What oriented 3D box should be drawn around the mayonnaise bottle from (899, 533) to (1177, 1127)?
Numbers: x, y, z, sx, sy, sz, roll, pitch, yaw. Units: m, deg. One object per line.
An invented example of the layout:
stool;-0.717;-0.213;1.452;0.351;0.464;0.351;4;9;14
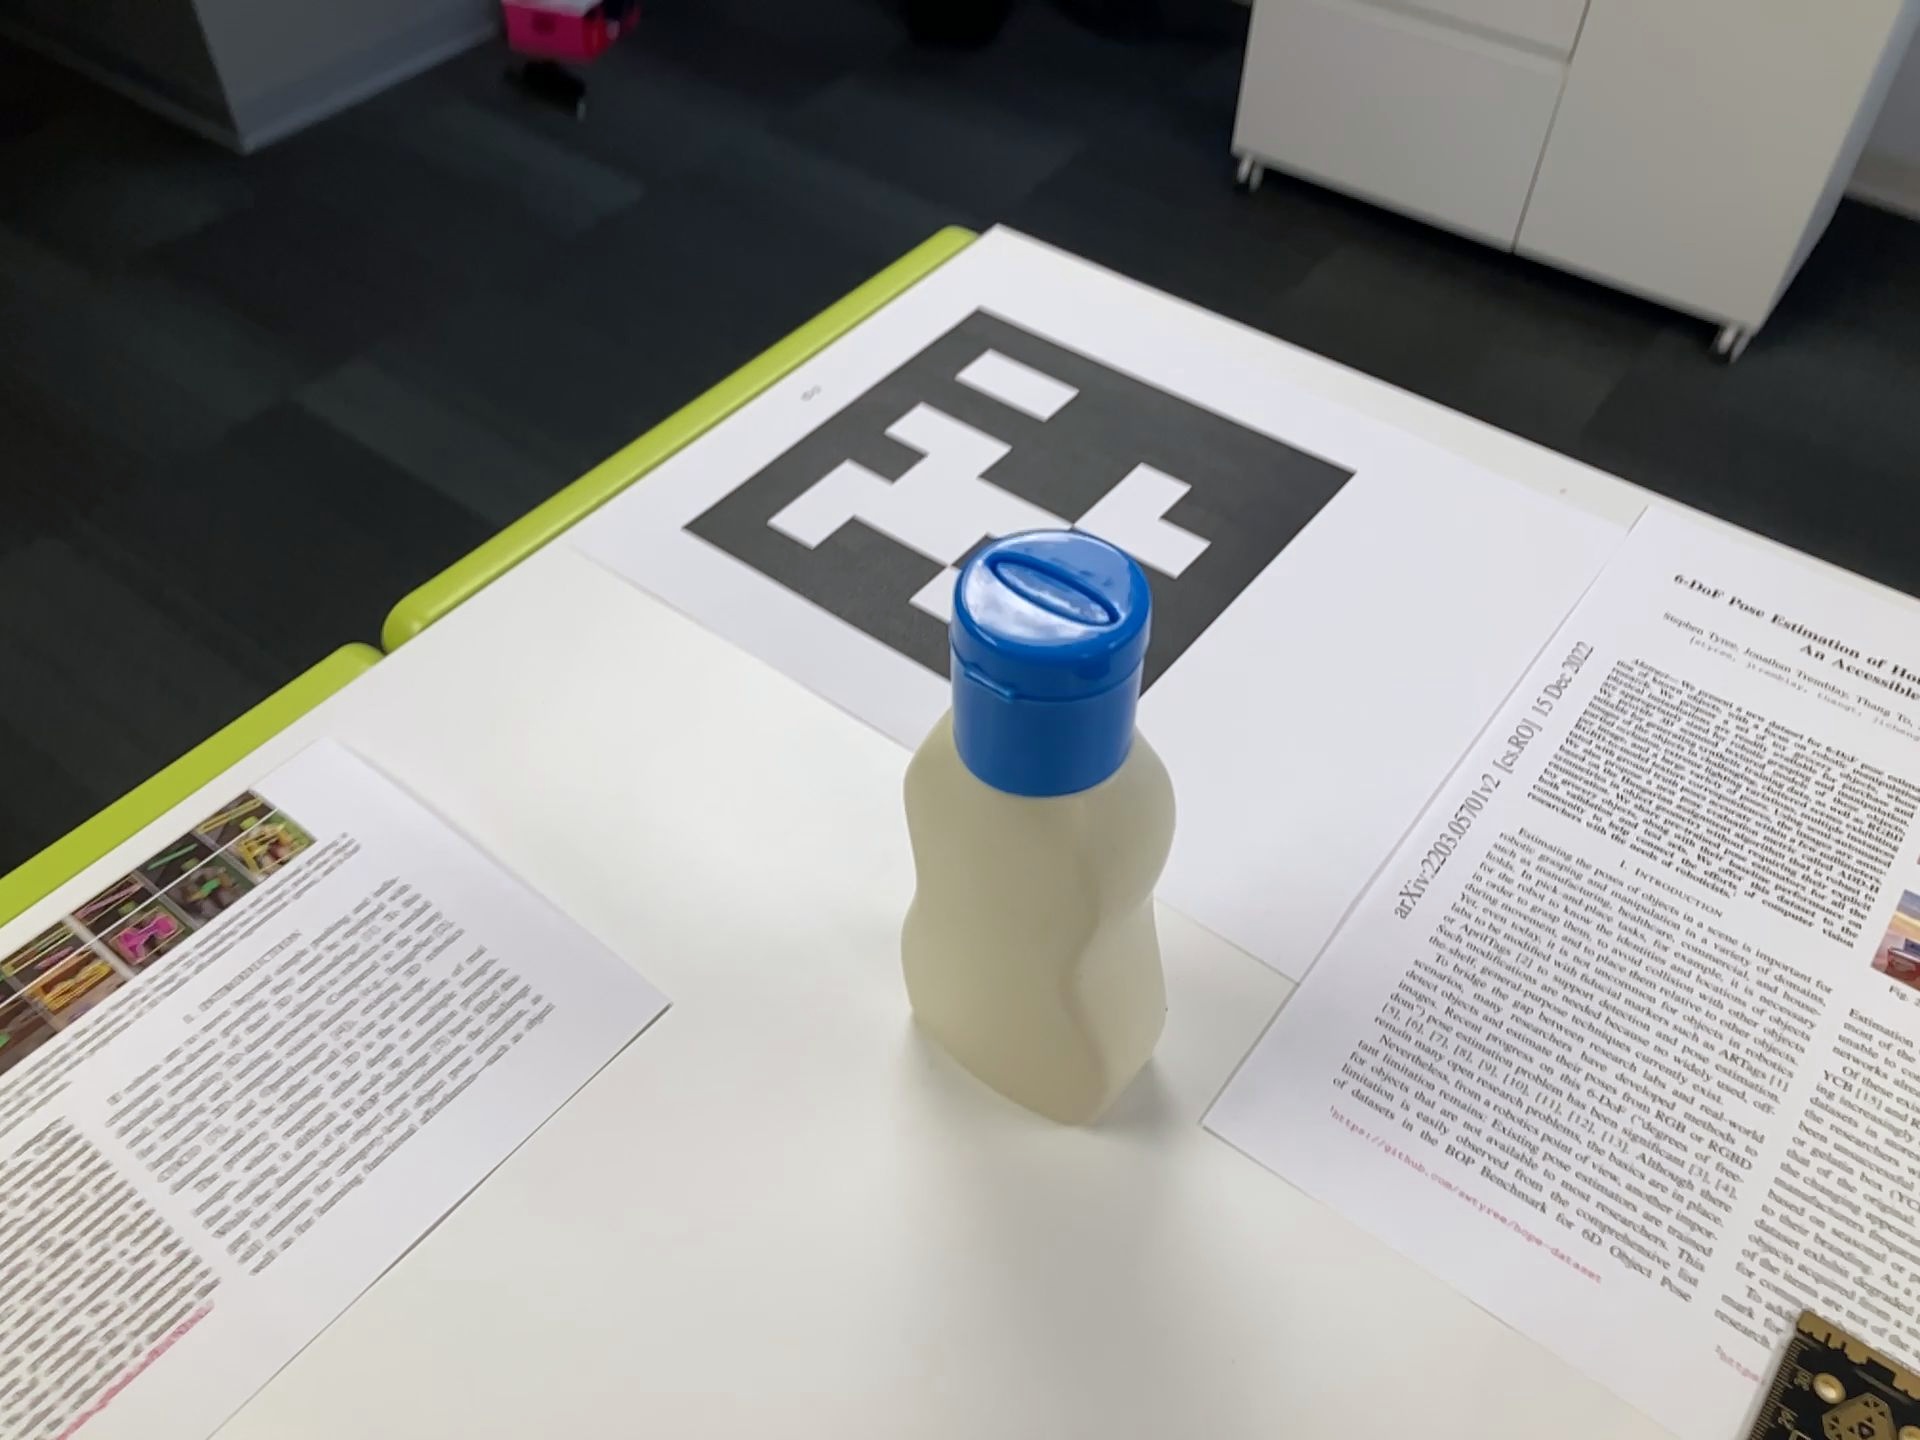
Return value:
mayonnaise bottle;0.017;0.027;0.337;0.065;0.148;0.041;30;54;25
